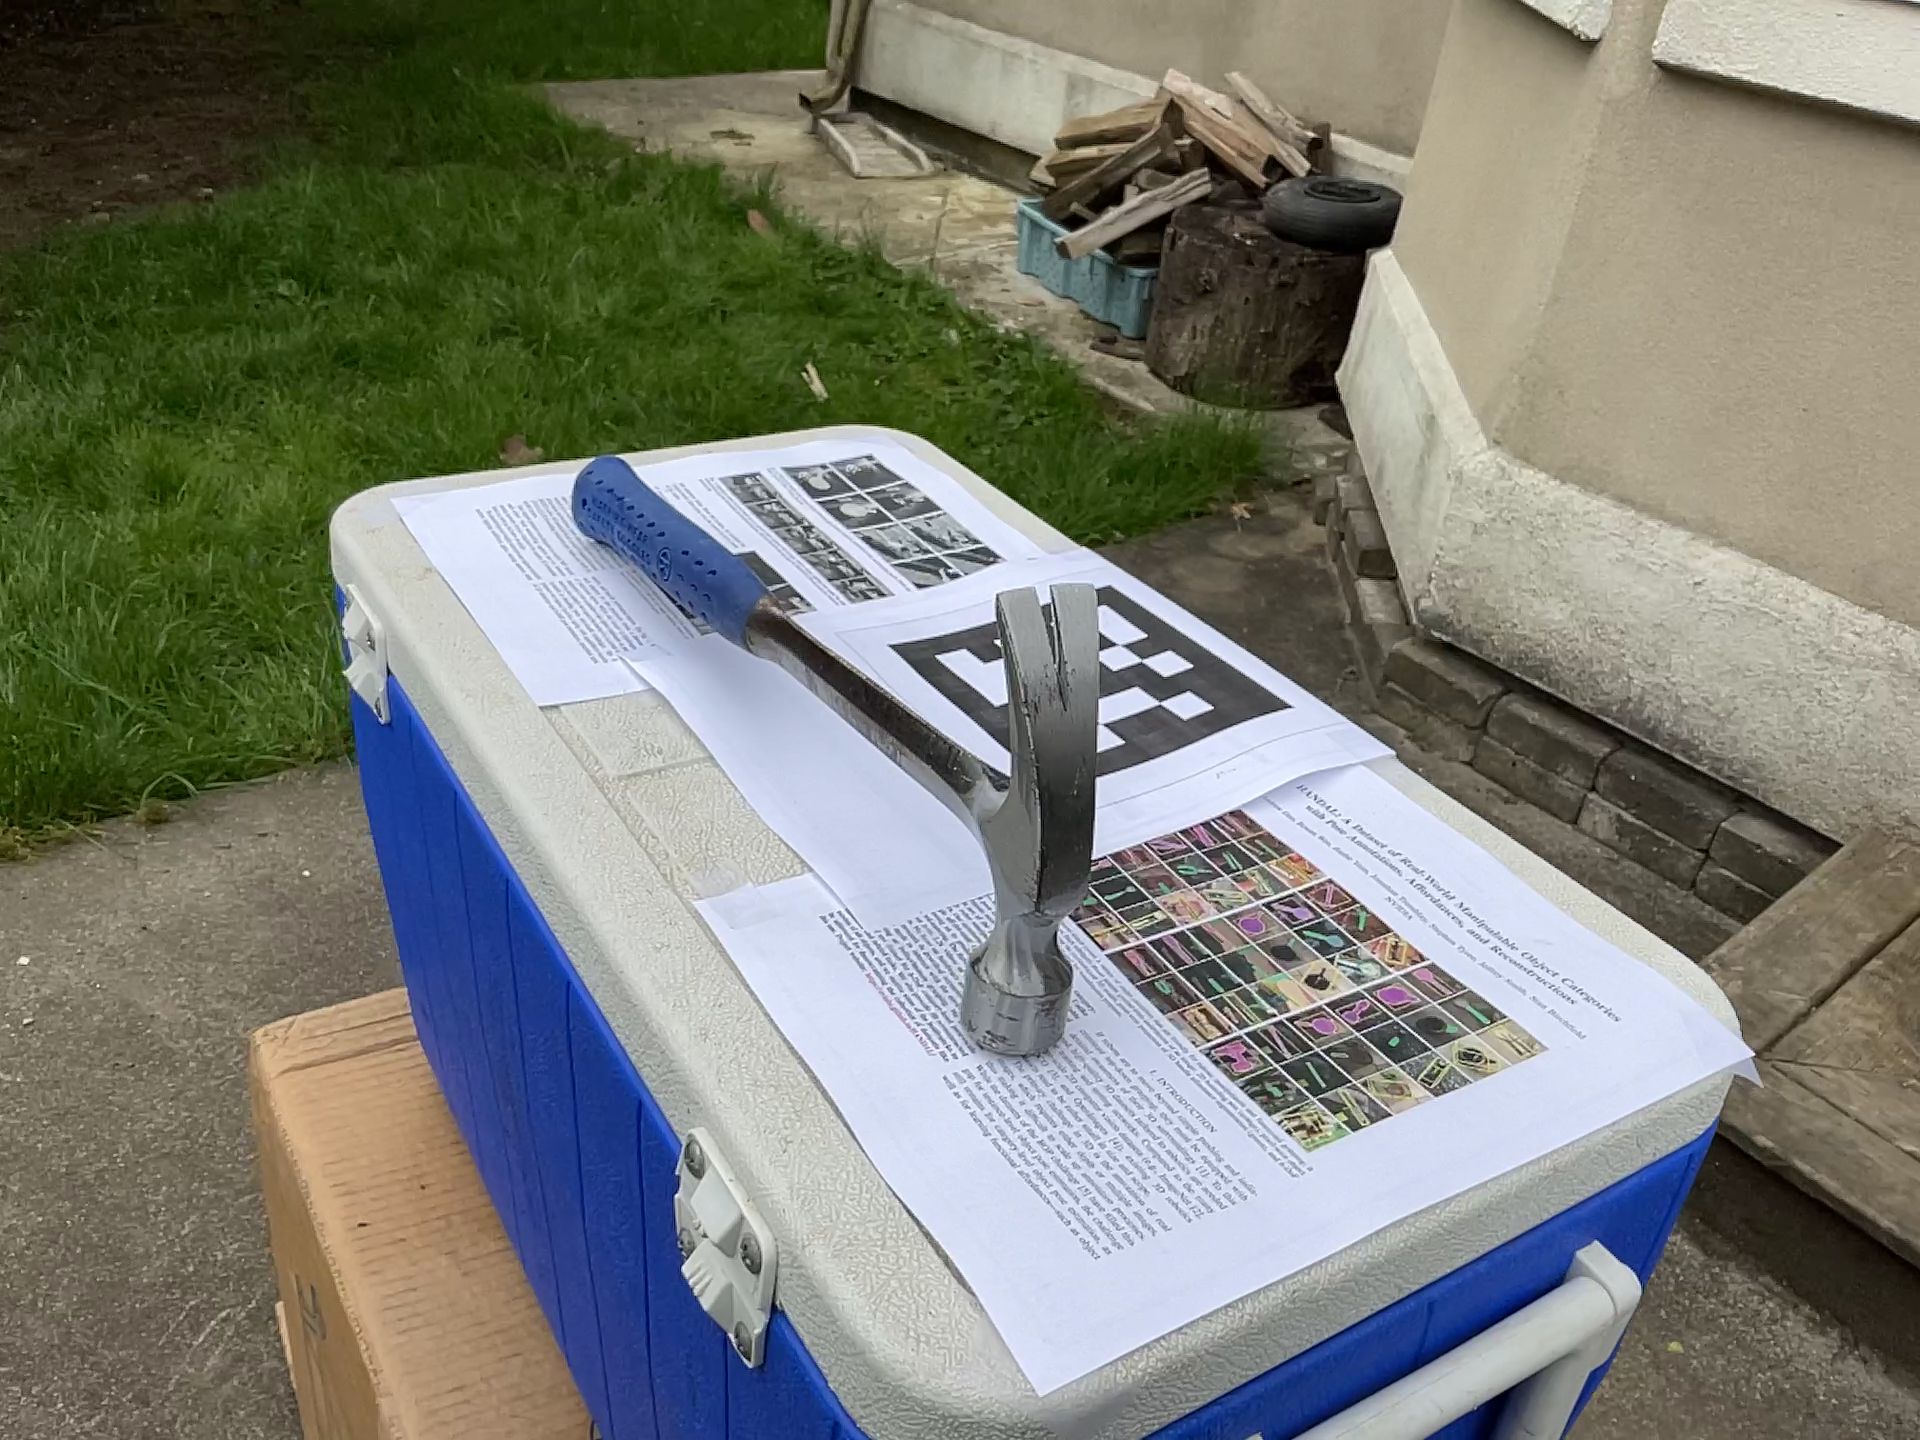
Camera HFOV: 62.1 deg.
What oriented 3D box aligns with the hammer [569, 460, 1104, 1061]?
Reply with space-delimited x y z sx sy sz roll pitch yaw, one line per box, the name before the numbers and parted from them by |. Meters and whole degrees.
hammer | -0.070 -0.037 0.619 0.035 0.144 0.405 -7 26 -31
